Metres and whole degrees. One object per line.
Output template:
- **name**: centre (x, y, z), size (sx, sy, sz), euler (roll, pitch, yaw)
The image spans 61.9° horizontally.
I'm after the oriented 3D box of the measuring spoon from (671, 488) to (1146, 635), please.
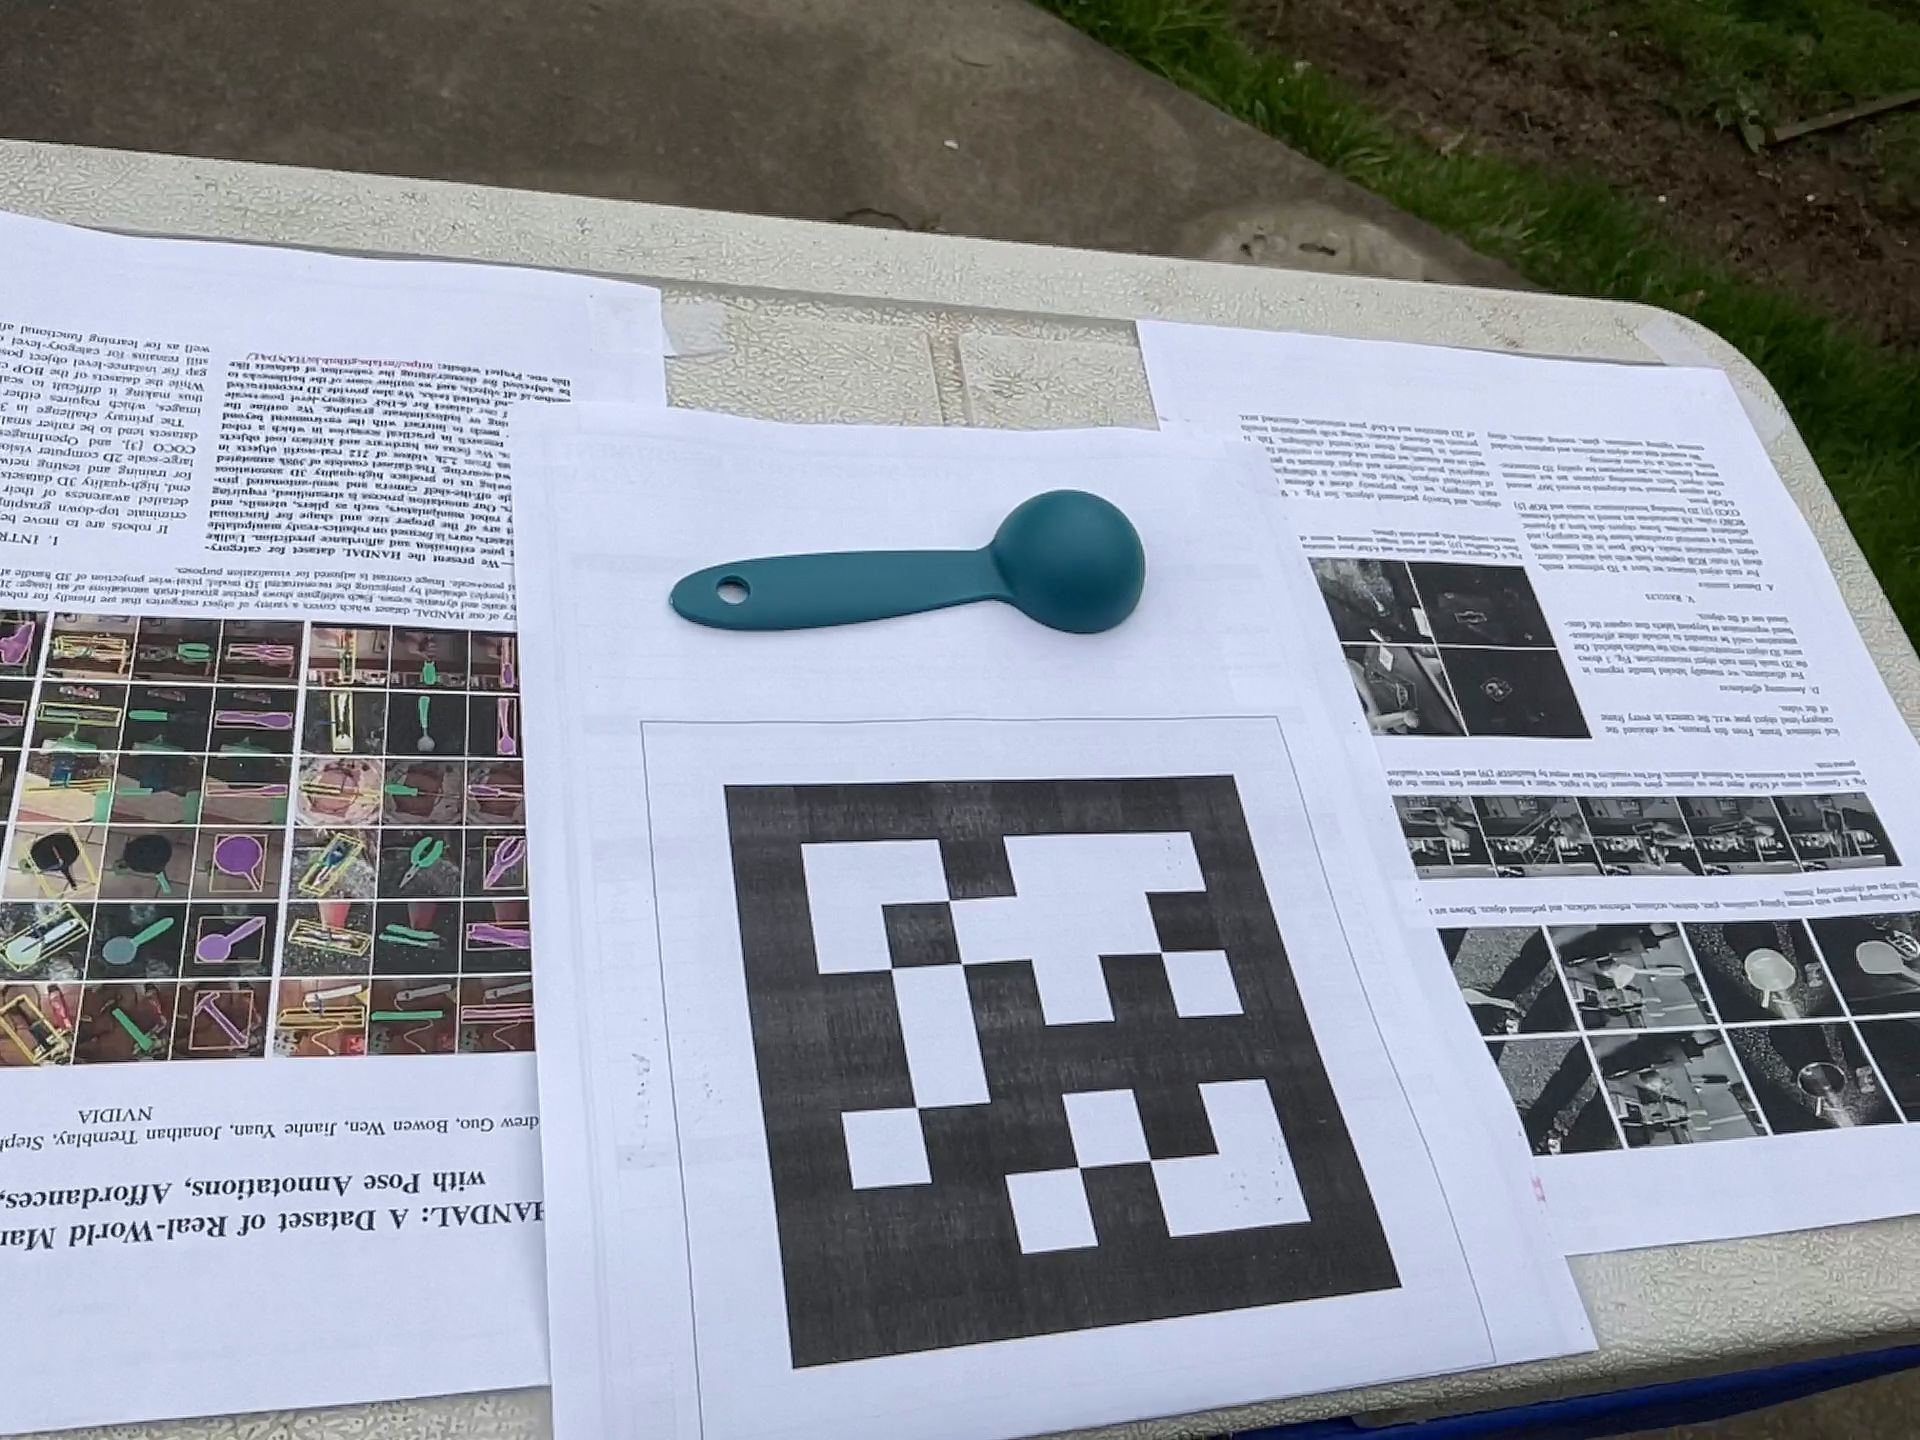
- **measuring spoon**: centre (-0.009, -0.040, 0.405), size (0.128, 0.021, 0.042), euler (-8, 66, -22)
